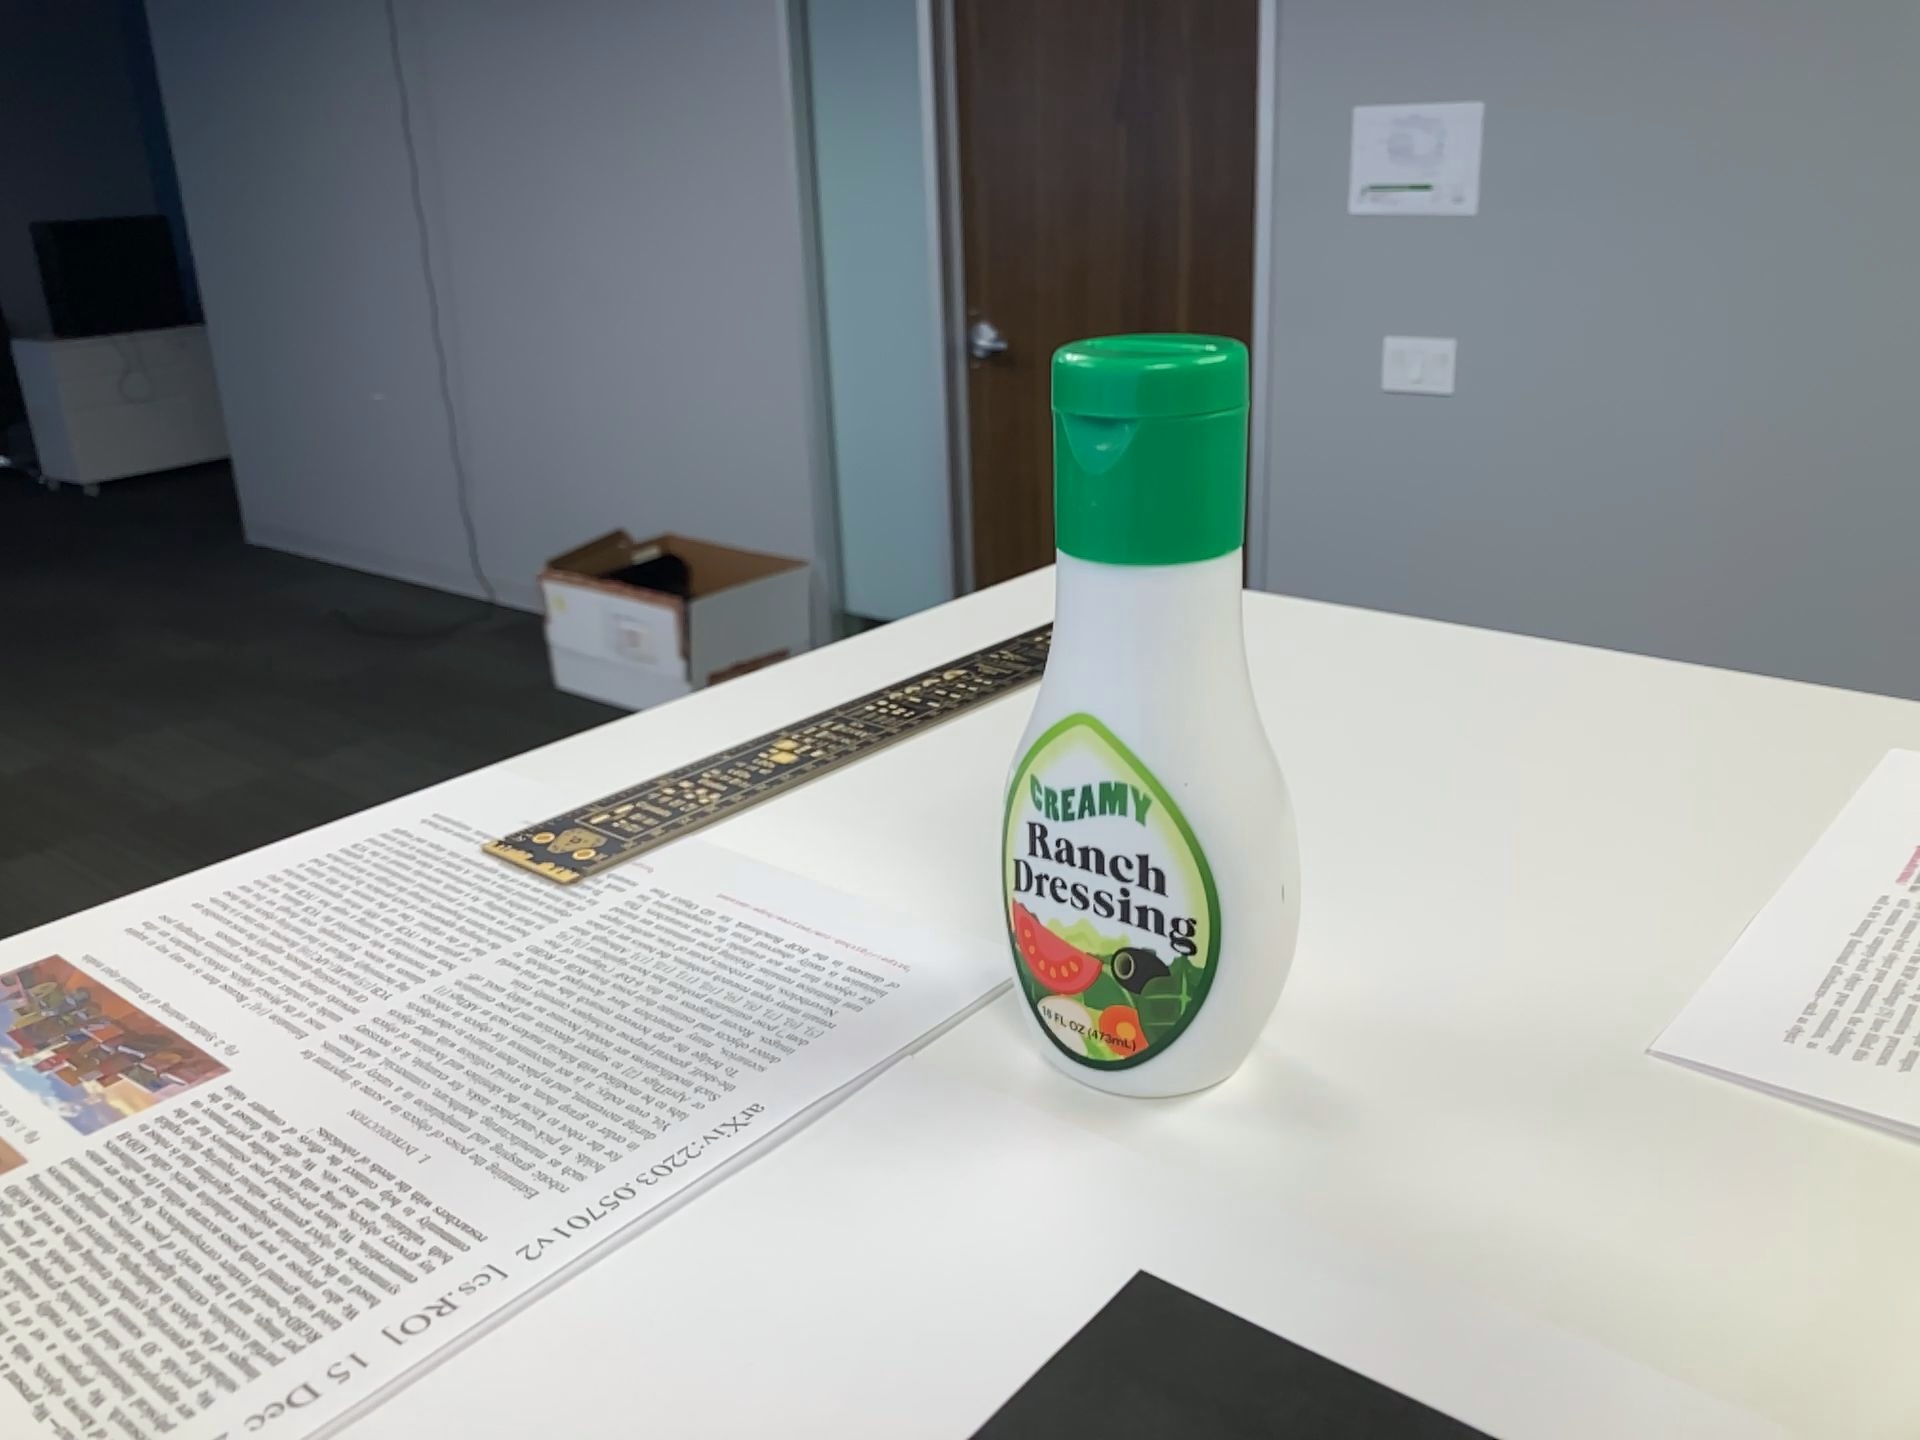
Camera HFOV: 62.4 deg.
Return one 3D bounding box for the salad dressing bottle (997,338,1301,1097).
[{"bbox_3d":[0.037,0.001,0.317,0.064,0.147,0.044,14,24,38],"label":"salad dressing bottle"}]
